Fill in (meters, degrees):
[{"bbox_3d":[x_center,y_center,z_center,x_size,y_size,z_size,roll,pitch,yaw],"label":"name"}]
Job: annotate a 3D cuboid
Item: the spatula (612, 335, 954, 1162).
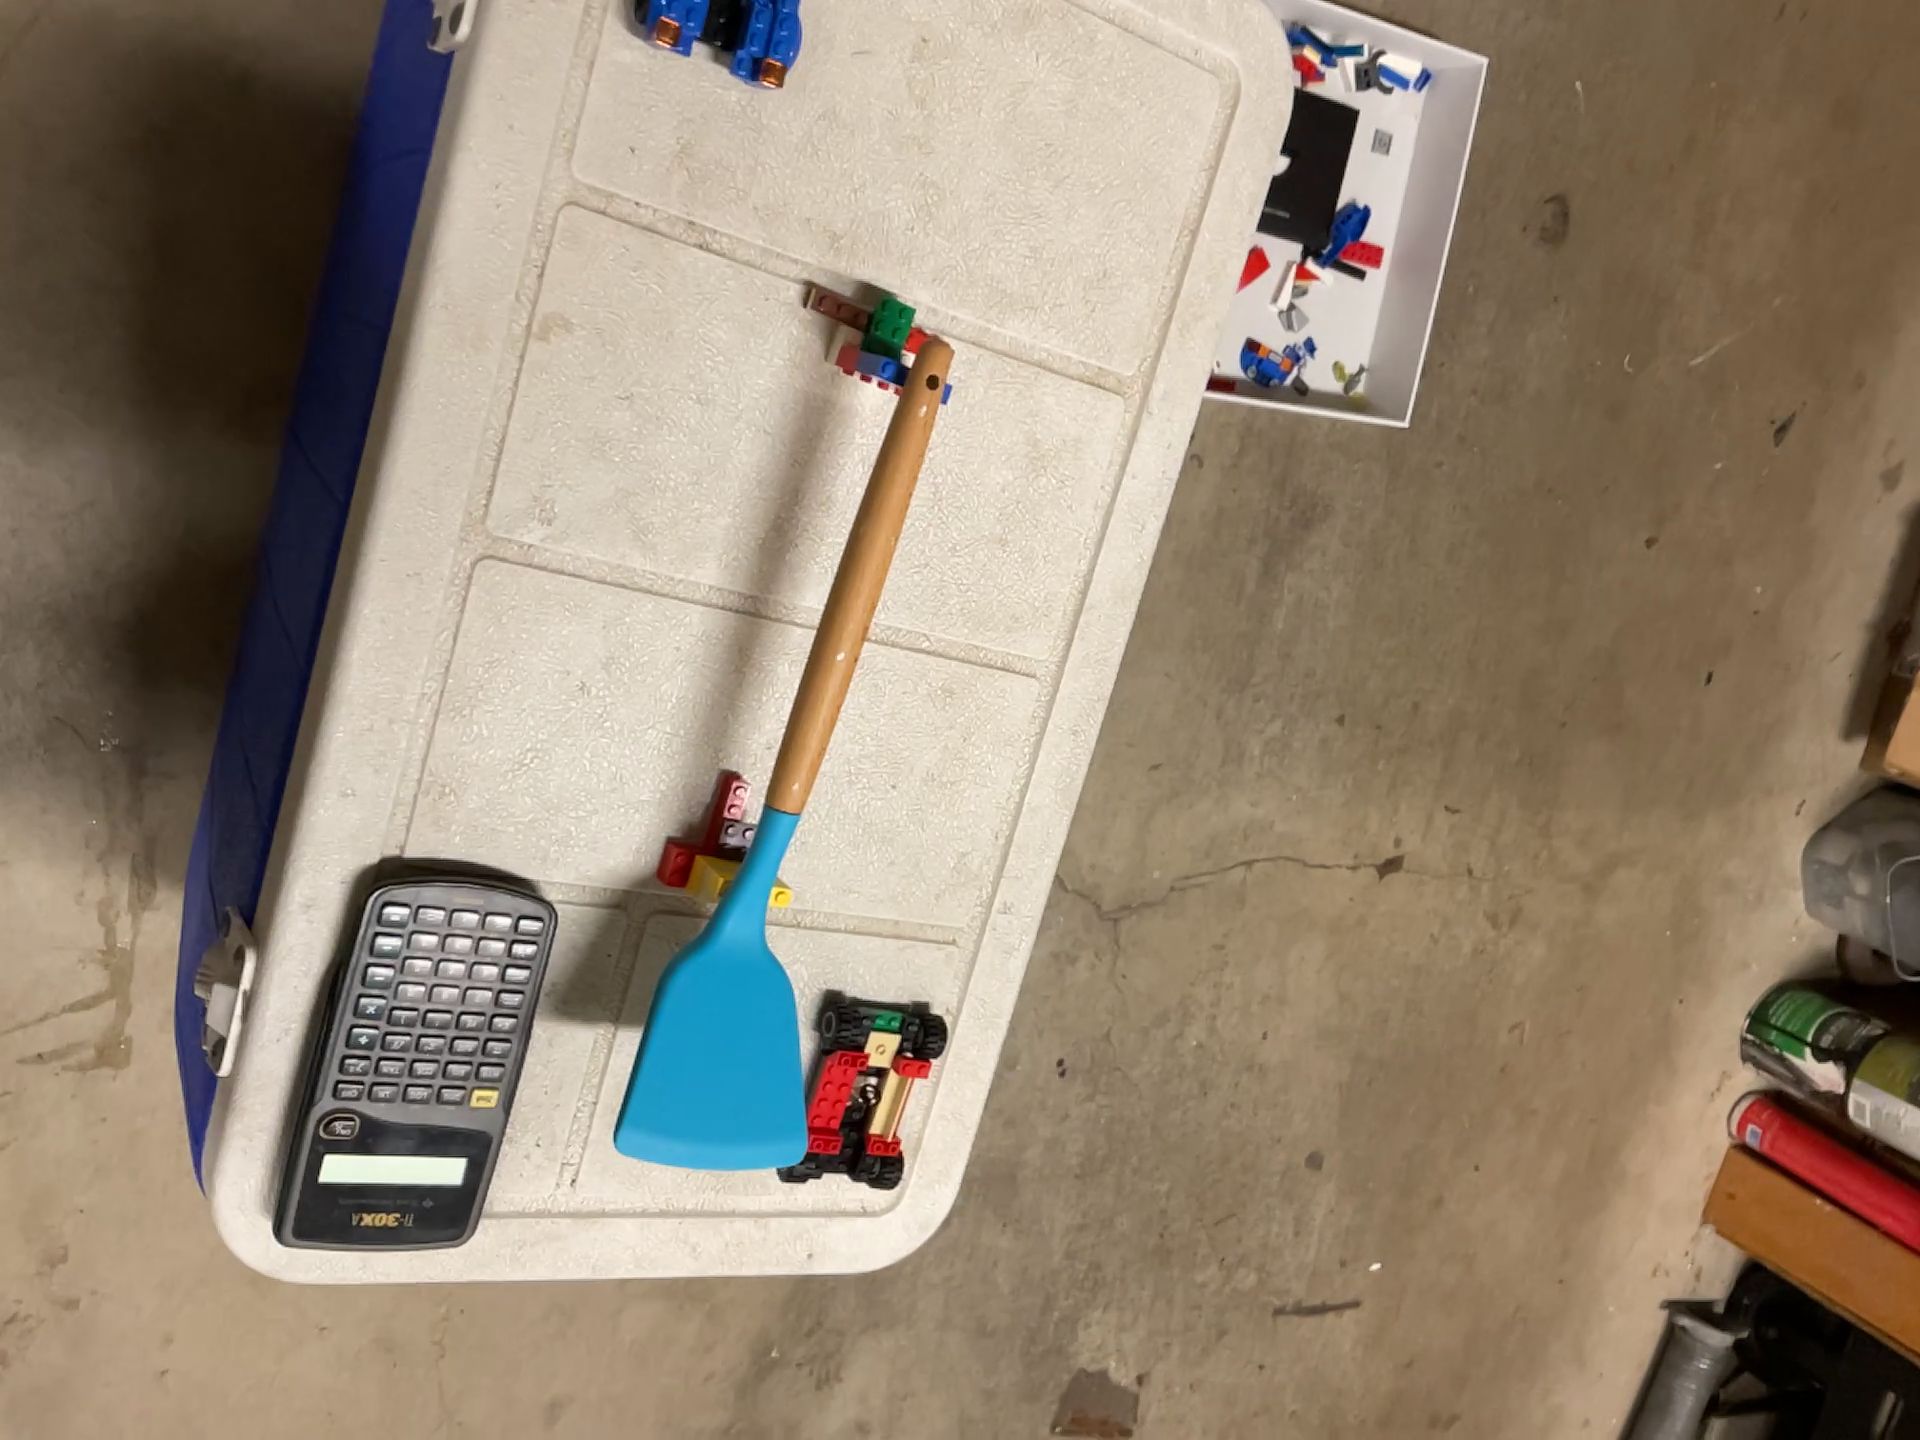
[{"bbox_3d":[-0.053,0.011,0.599,0.082,0.044,0.317,14,98,-29],"label":"spatula"}]
